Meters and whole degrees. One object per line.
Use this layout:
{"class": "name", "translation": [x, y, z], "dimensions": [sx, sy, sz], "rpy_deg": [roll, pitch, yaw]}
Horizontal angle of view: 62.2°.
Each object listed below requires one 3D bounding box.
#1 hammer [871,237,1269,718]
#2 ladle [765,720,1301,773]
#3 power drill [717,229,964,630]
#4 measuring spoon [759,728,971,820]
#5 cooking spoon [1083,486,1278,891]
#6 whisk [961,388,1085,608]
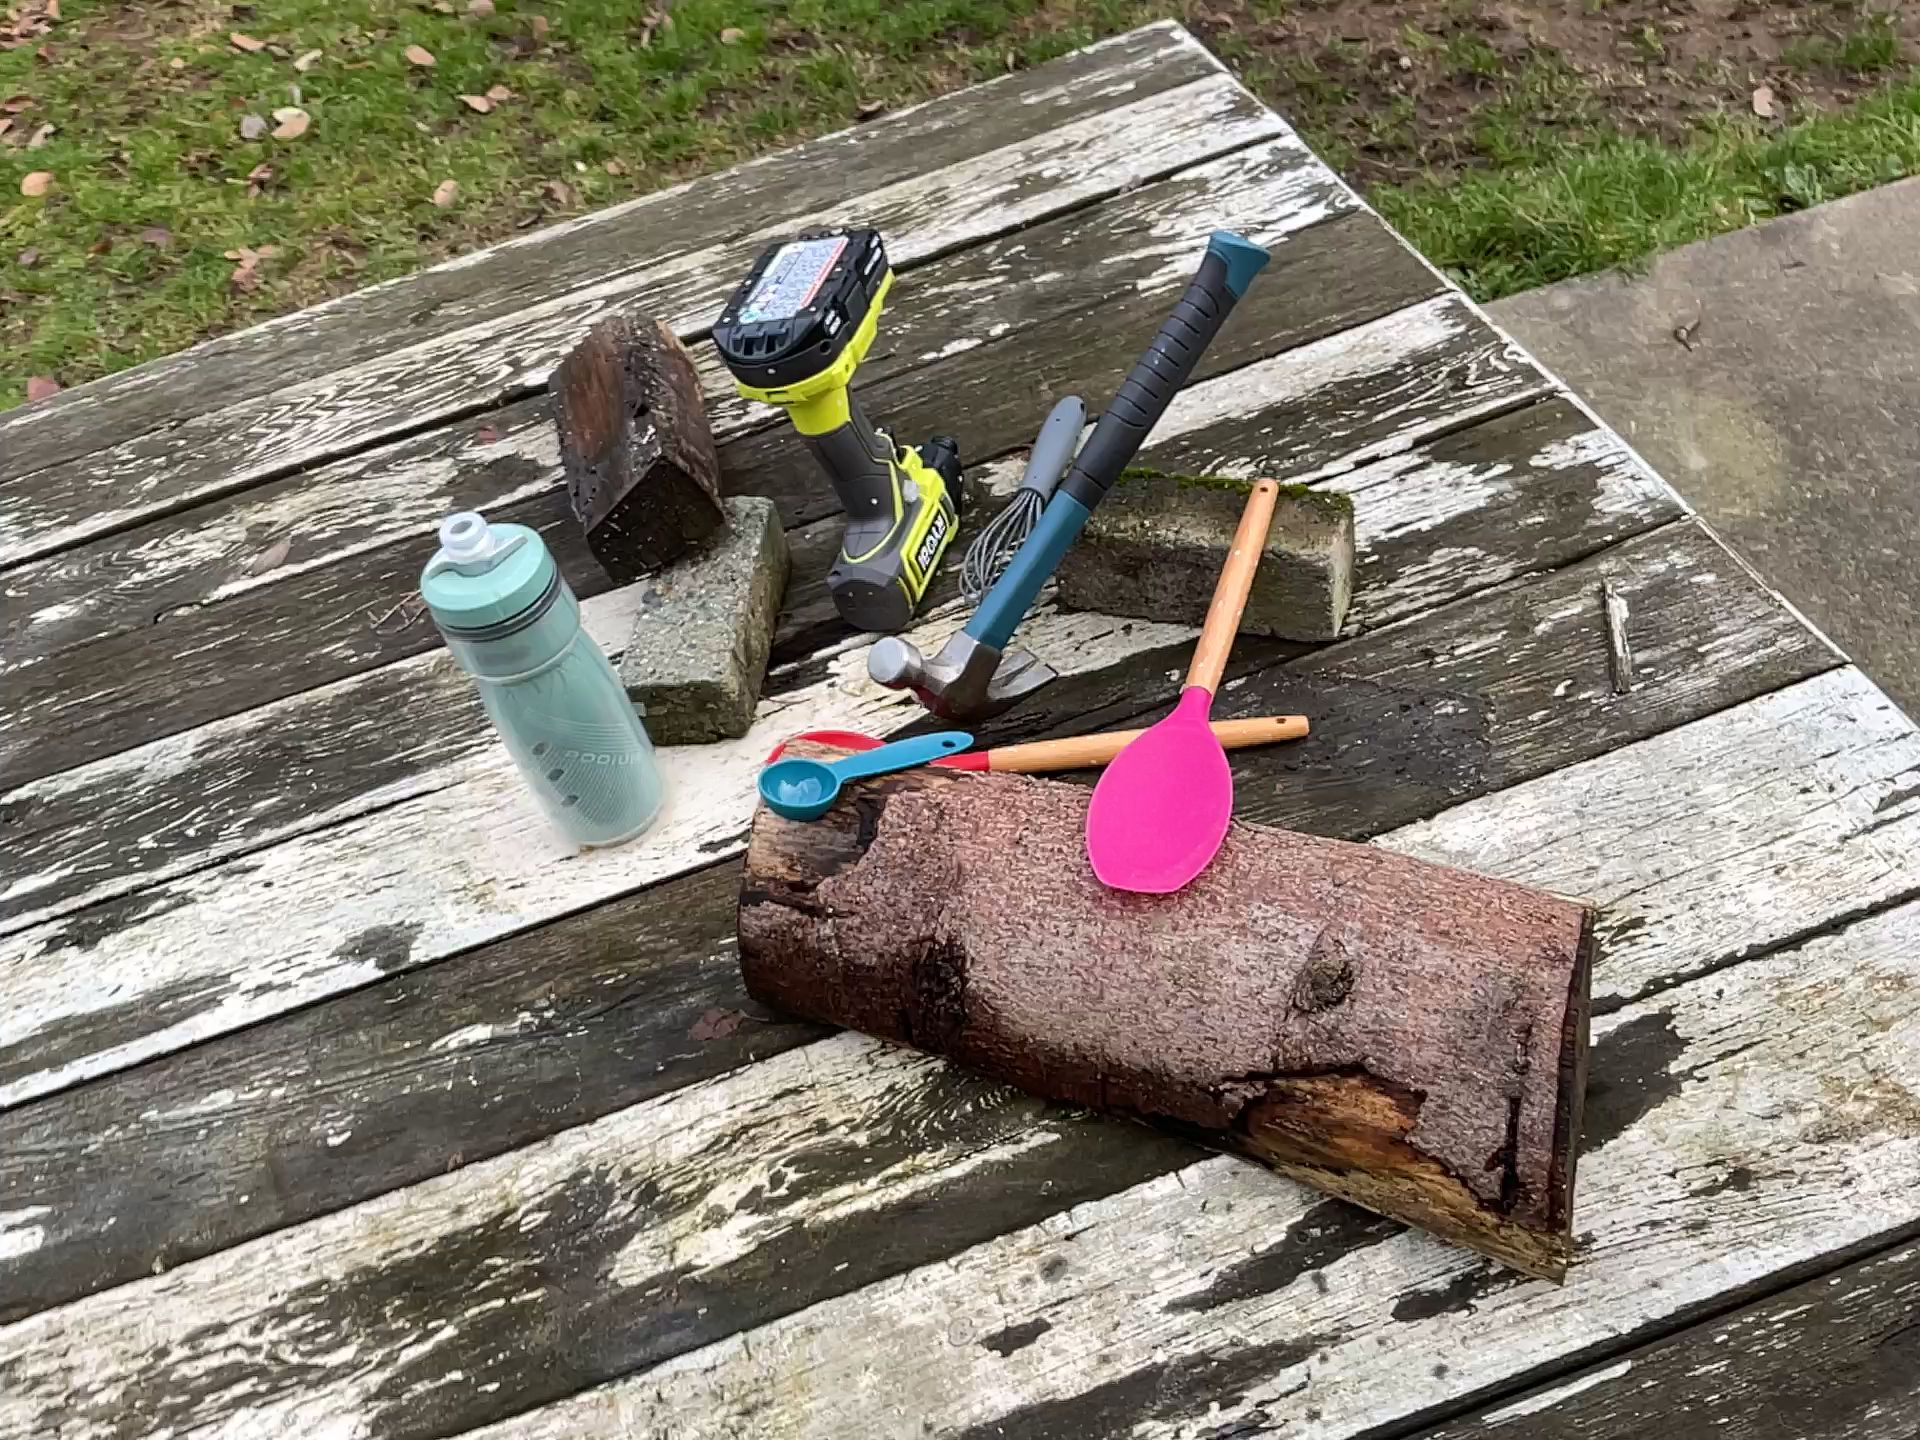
{"class": "hammer", "translation": [0.077, -0.143, 0.949], "dimensions": [0.033, 0.128, 0.331], "rpy_deg": [38, 98, 36]}
{"class": "ladle", "translation": [0.042, 0.020, 0.943], "dimensions": [0.315, 0.031, 0.069], "rpy_deg": [-6, 44, 7]}
{"class": "power drill", "translation": [-0.062, -0.194, 1.037], "dimensions": [0.080, 0.223, 0.171], "rpy_deg": [0, 46, 25]}
{"class": "measuring spoon", "translation": [-0.048, 0.029, 0.851], "dimensions": [0.128, 0.021, 0.042], "rpy_deg": [-16, 41, -31]}
{"class": "cooking spoon", "translation": [0.133, -0.028, 0.851], "dimensions": [0.069, 0.017, 0.319], "rpy_deg": [6, 45, 21]}
{"class": "whisk", "translation": [0.051, -0.157, 1.085], "dimensions": [0.055, 0.055, 0.239], "rpy_deg": [10, 47, 13]}
